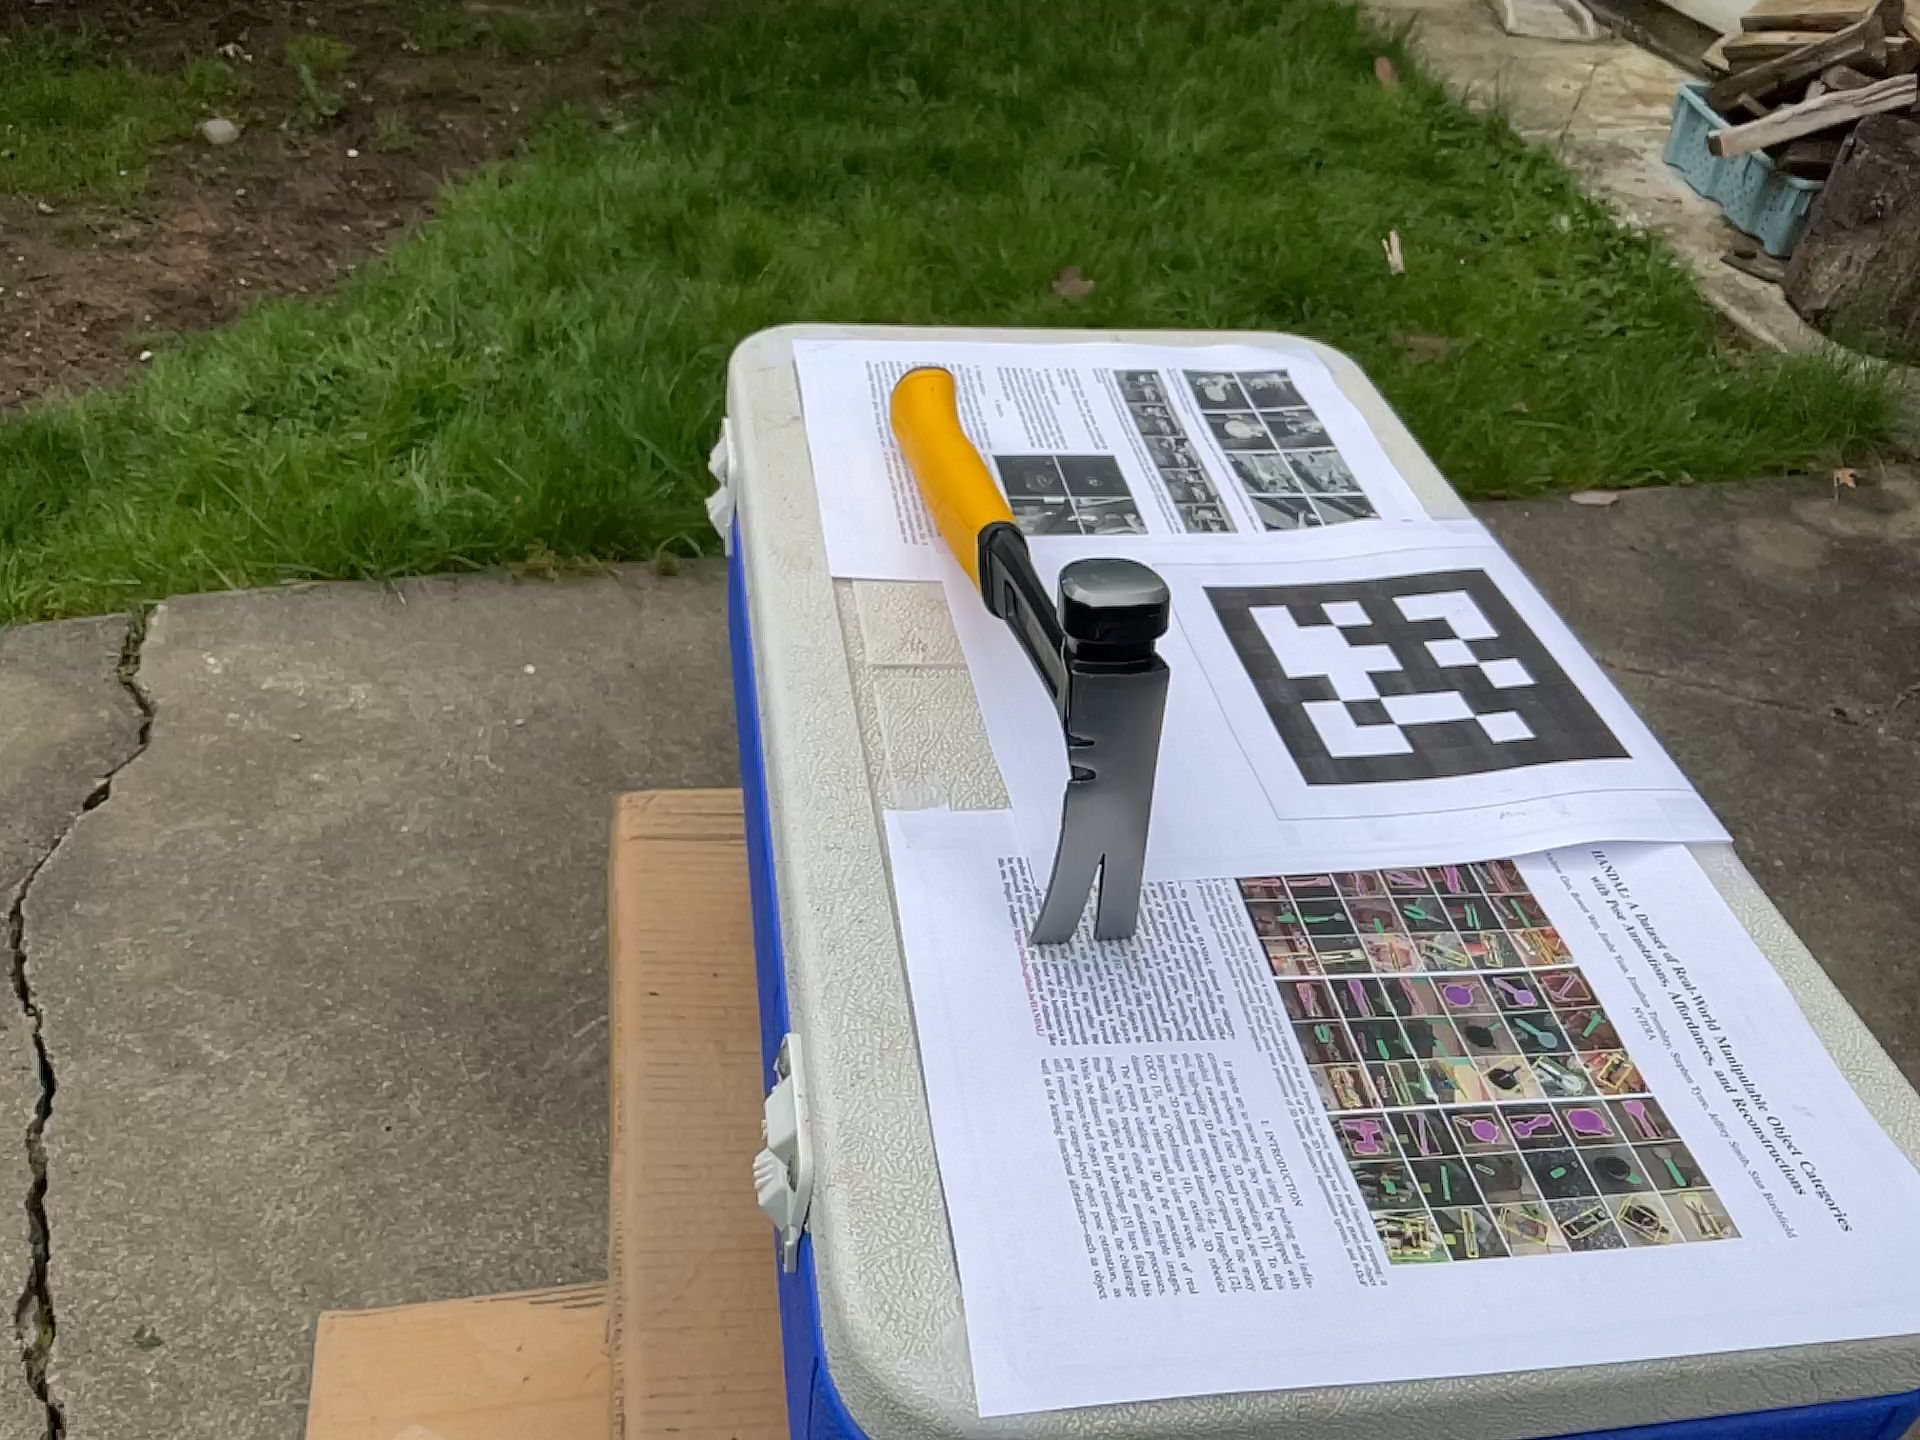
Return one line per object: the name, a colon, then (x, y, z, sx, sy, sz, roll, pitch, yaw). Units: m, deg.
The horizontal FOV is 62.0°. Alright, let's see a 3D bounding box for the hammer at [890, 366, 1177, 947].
hammer: (0.013, -0.058, 0.606, 0.034, 0.127, 0.337, -3, 29, -11)
